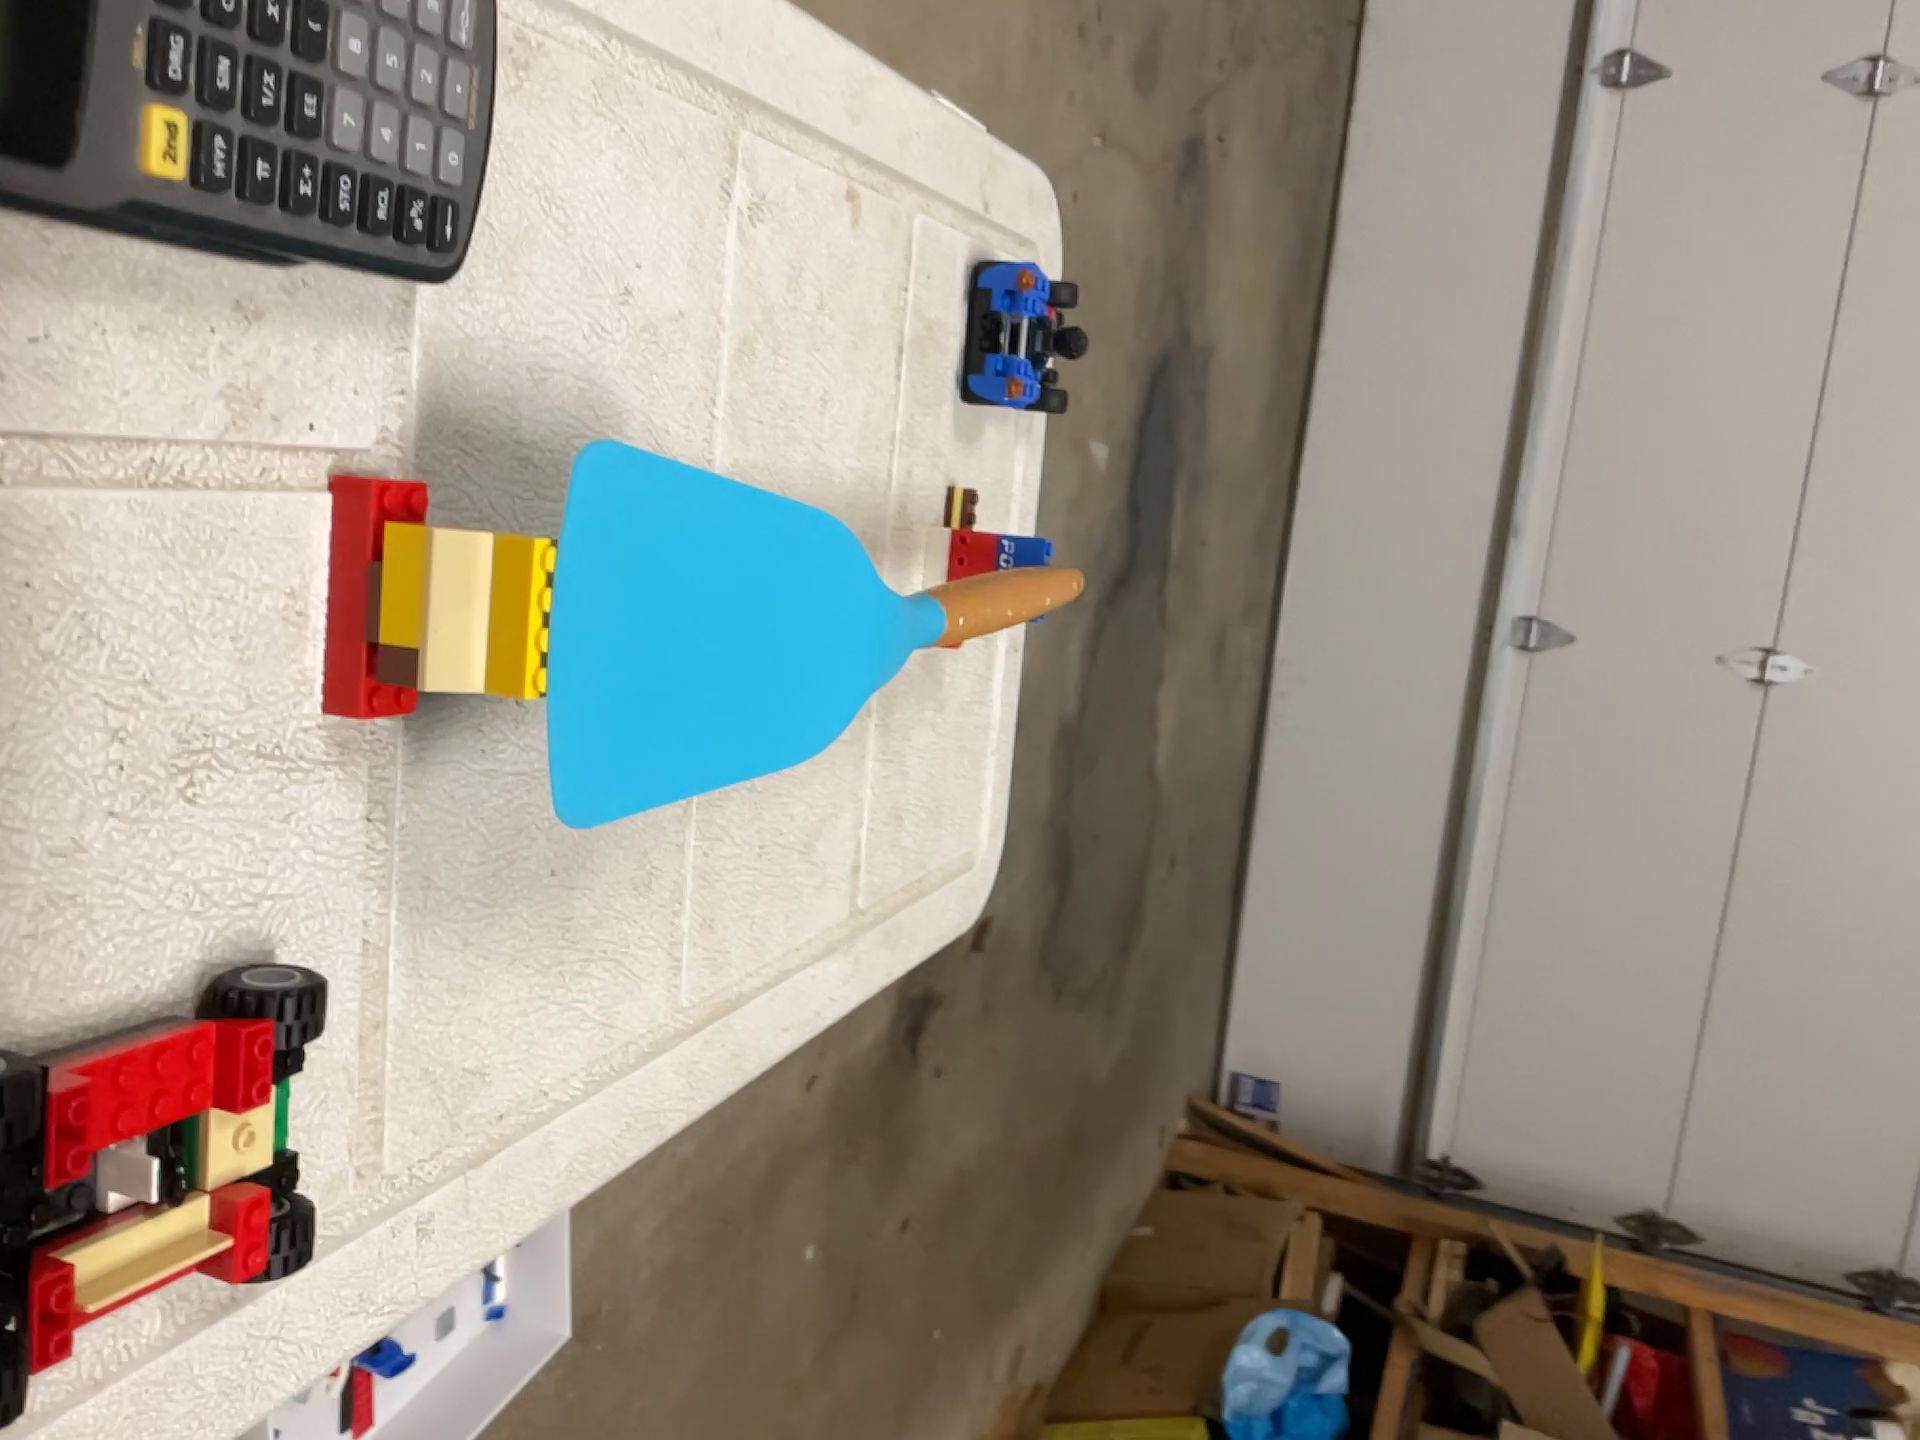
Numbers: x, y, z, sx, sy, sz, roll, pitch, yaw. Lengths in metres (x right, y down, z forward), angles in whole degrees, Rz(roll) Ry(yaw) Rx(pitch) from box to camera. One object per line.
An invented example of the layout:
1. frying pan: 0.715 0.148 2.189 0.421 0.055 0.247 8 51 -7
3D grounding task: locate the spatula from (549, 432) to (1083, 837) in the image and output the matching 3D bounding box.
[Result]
1. spatula: -0.014 -0.033 0.461 0.318 0.044 0.082 -23 119 -72
